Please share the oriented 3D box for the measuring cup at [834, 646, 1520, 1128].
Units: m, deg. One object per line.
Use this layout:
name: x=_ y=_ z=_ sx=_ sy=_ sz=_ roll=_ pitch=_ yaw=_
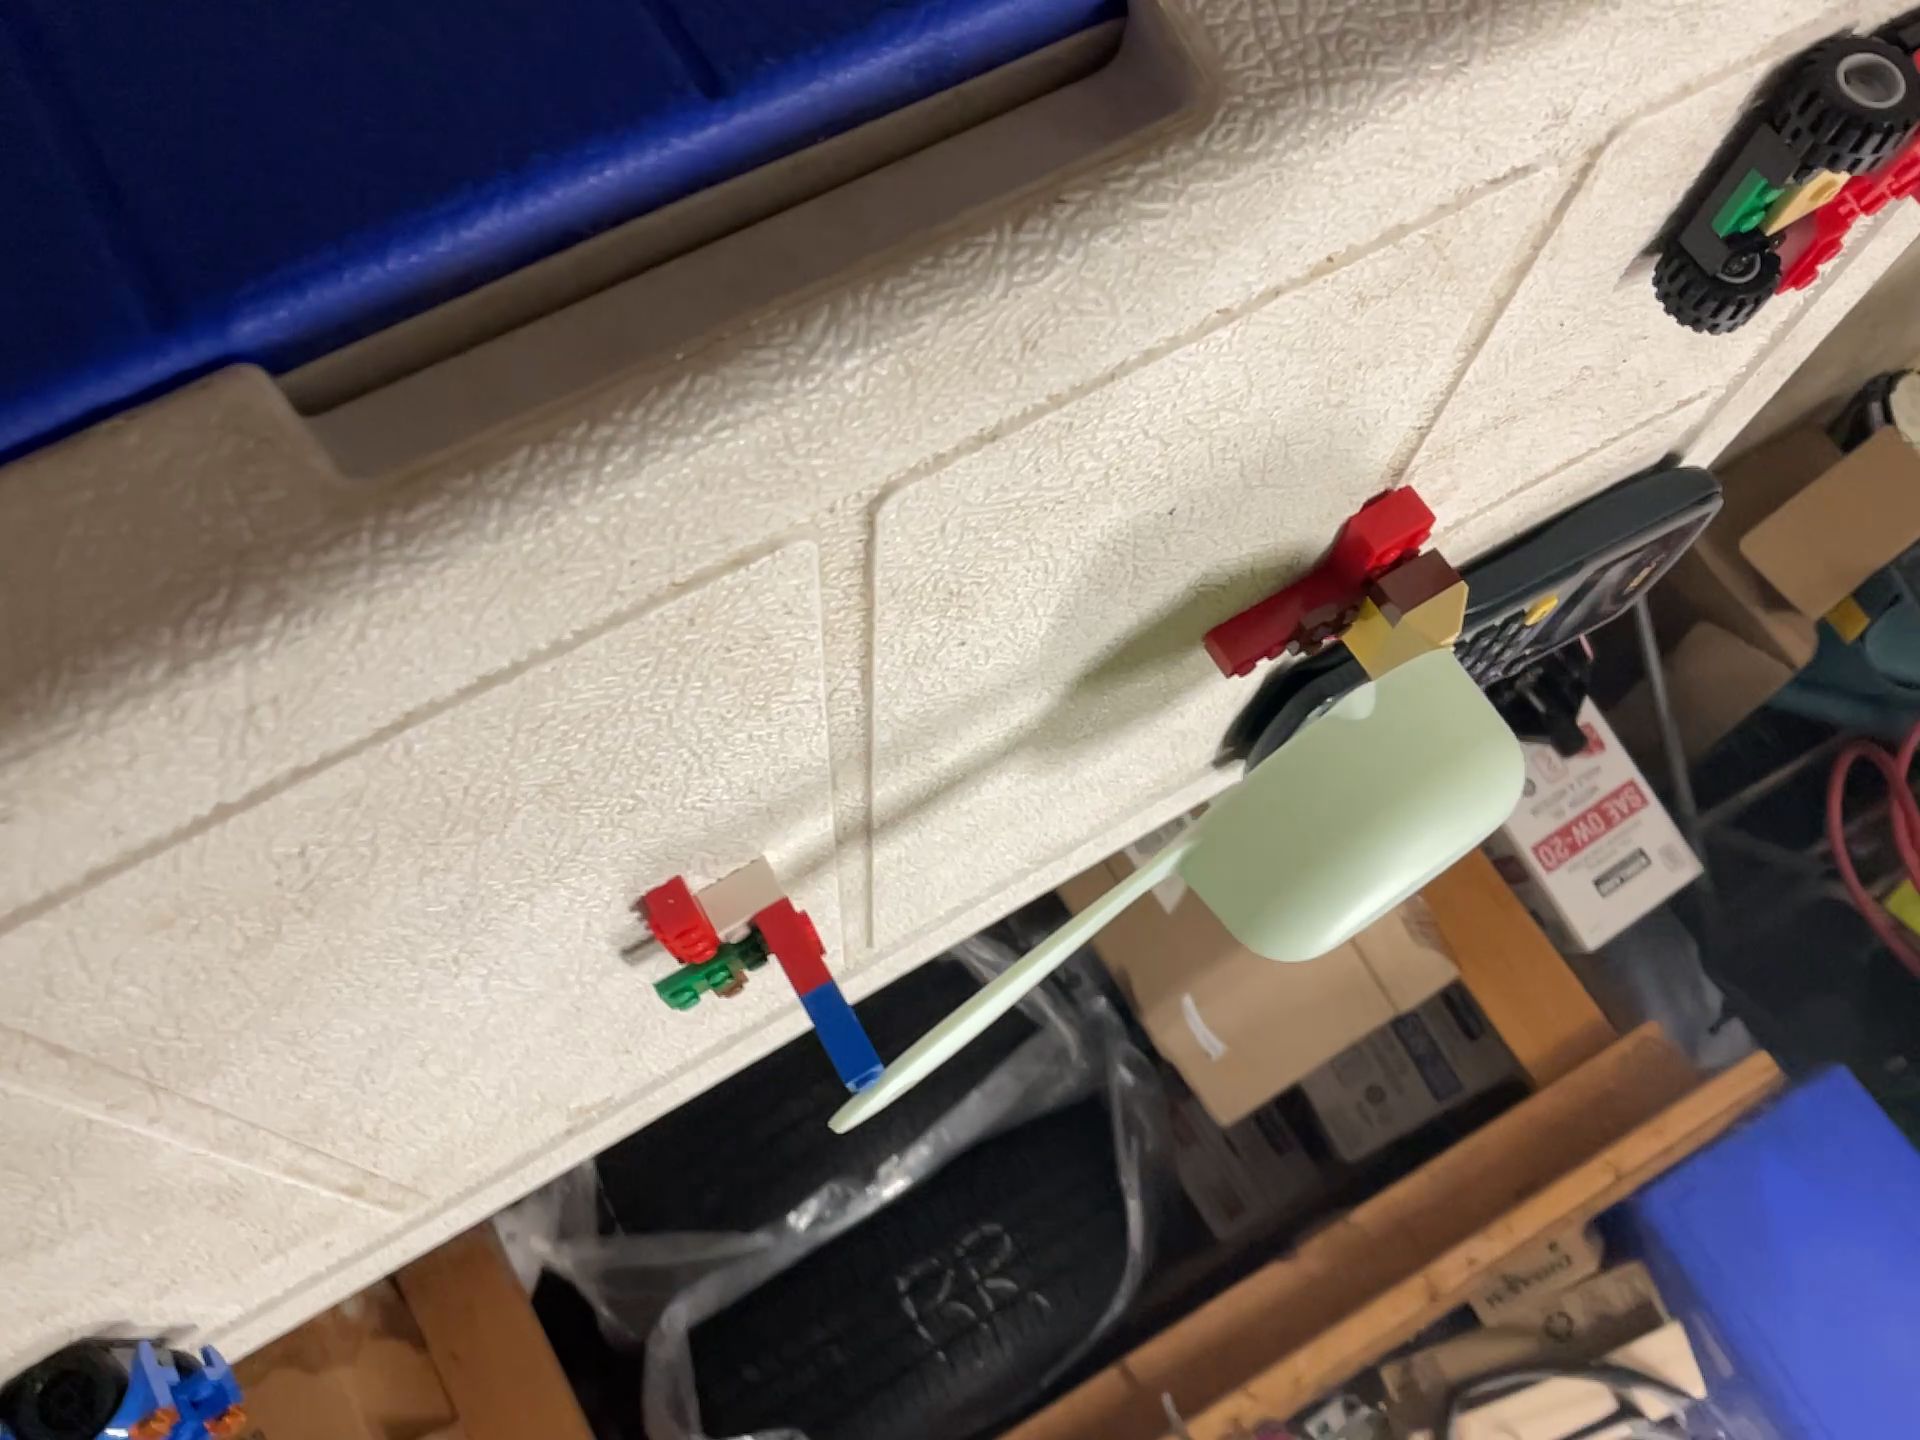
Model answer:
measuring cup: x=0.051 y=0.047 z=0.341 sx=0.167 sy=0.038 sz=0.083 roll=-35 pitch=164 yaw=-13
